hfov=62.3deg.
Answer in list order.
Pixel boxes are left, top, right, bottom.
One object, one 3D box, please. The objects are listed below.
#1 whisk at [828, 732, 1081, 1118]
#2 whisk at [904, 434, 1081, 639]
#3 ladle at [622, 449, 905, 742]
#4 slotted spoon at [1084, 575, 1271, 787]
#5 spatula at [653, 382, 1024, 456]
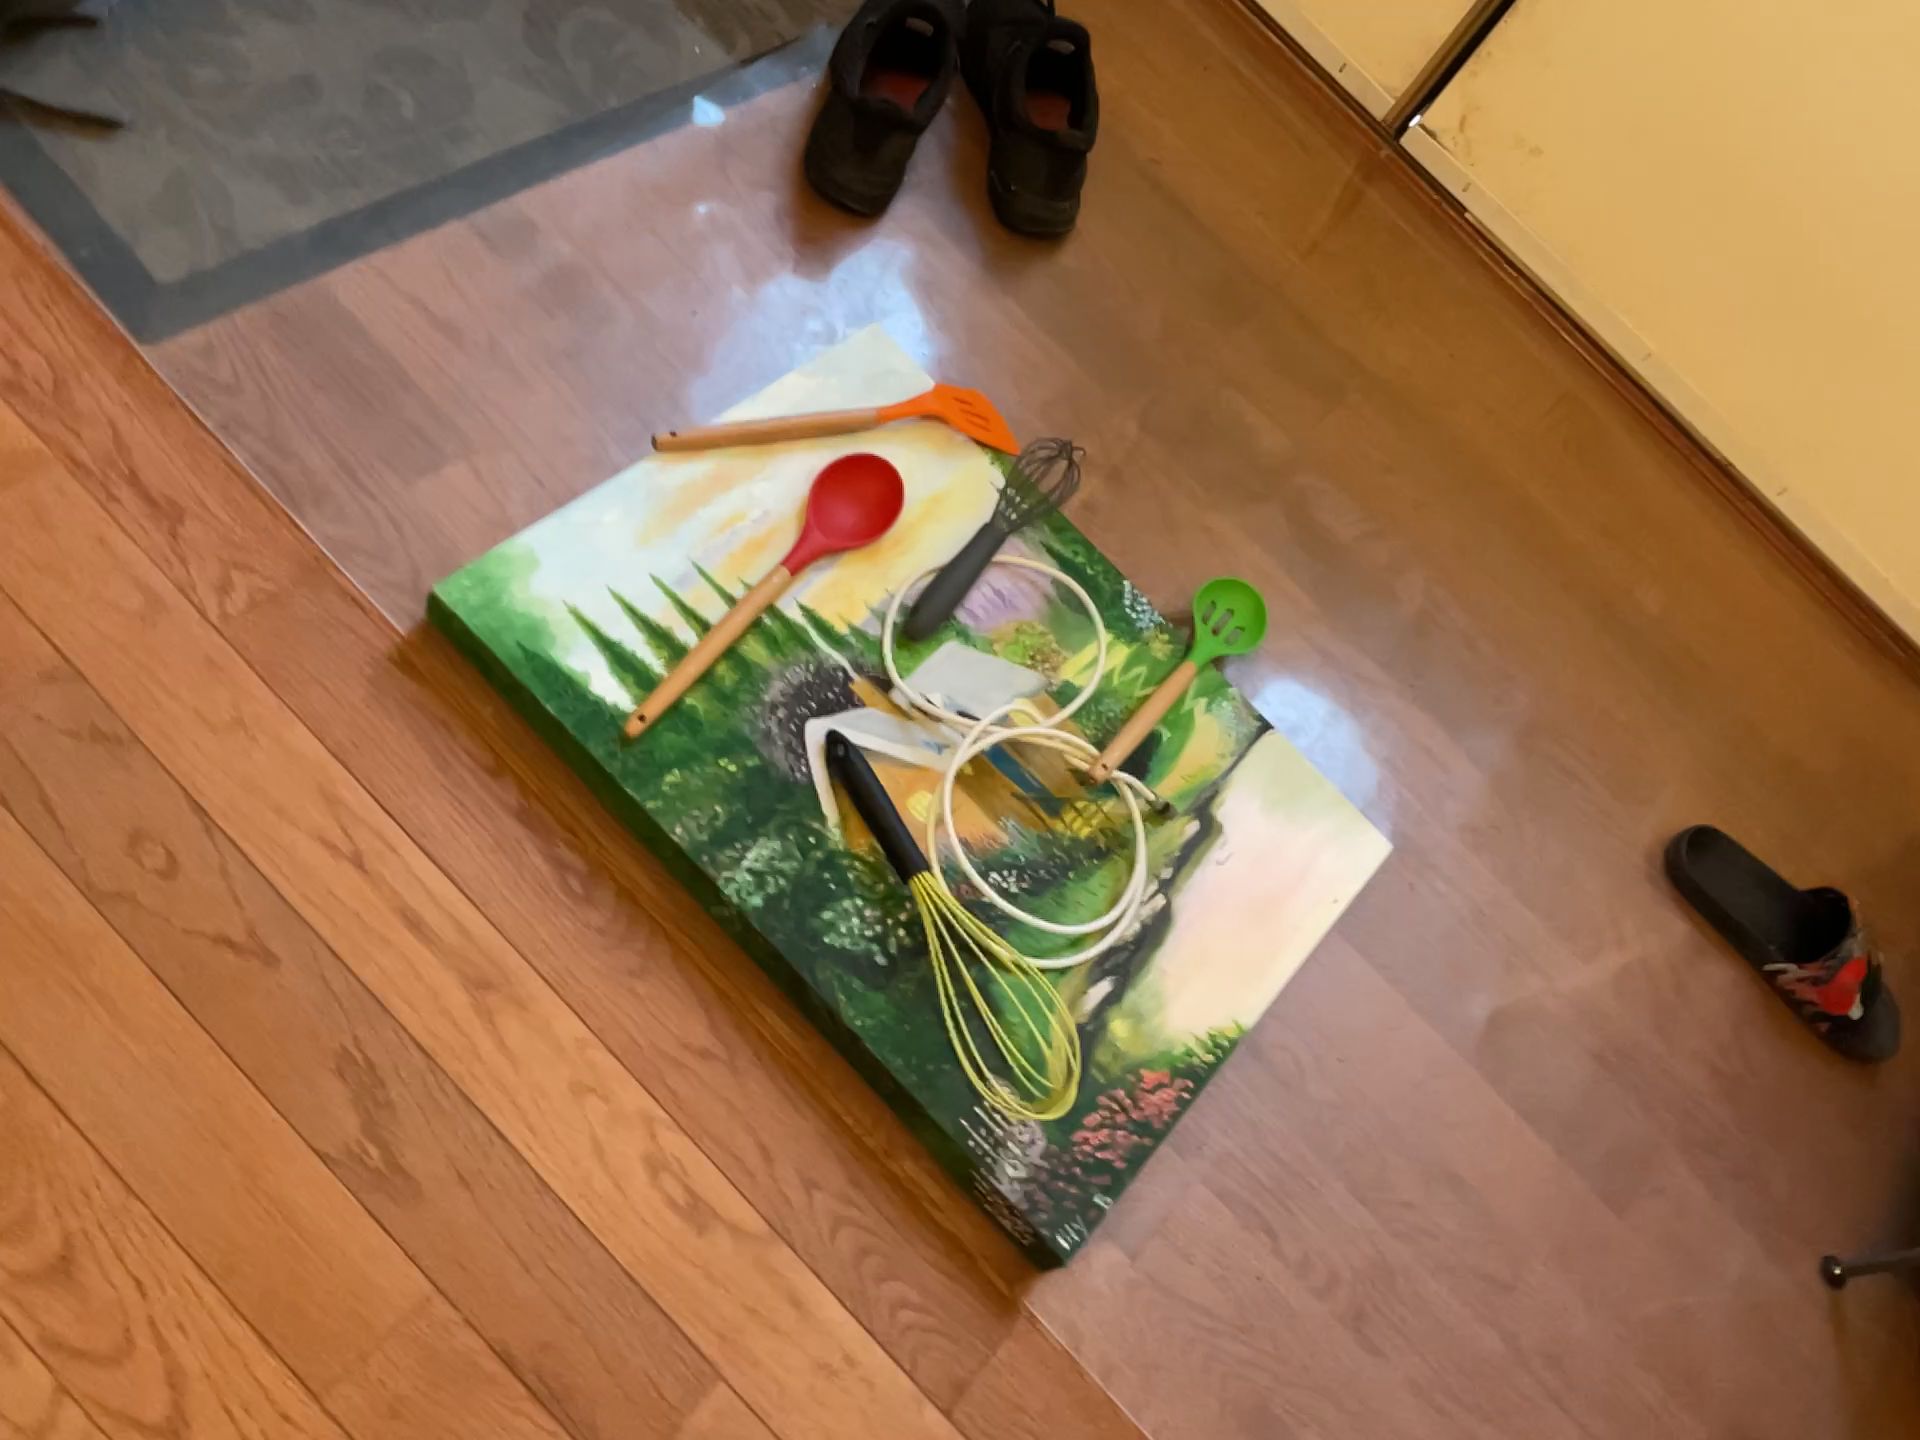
[{"bbox_3d":[-0.013,0.135,1.084,0.080,0.067,0.312,-18,67,-37],"label":"whisk"},{"bbox_3d":[0.028,-0.146,1.253,0.055,0.055,0.239,34,61,8],"label":"whisk"},{"bbox_3d":[-0.142,-0.092,1.159,0.069,0.031,0.316,39,58,0],"label":"ladle"},{"bbox_3d":[0.171,-0.031,1.261,0.070,0.031,0.314,44,43,2],"label":"slotted spoon"},{"bbox_3d":[-0.091,-0.232,1.268,0.322,0.041,0.081,-13,59,-28],"label":"spatula"}]
